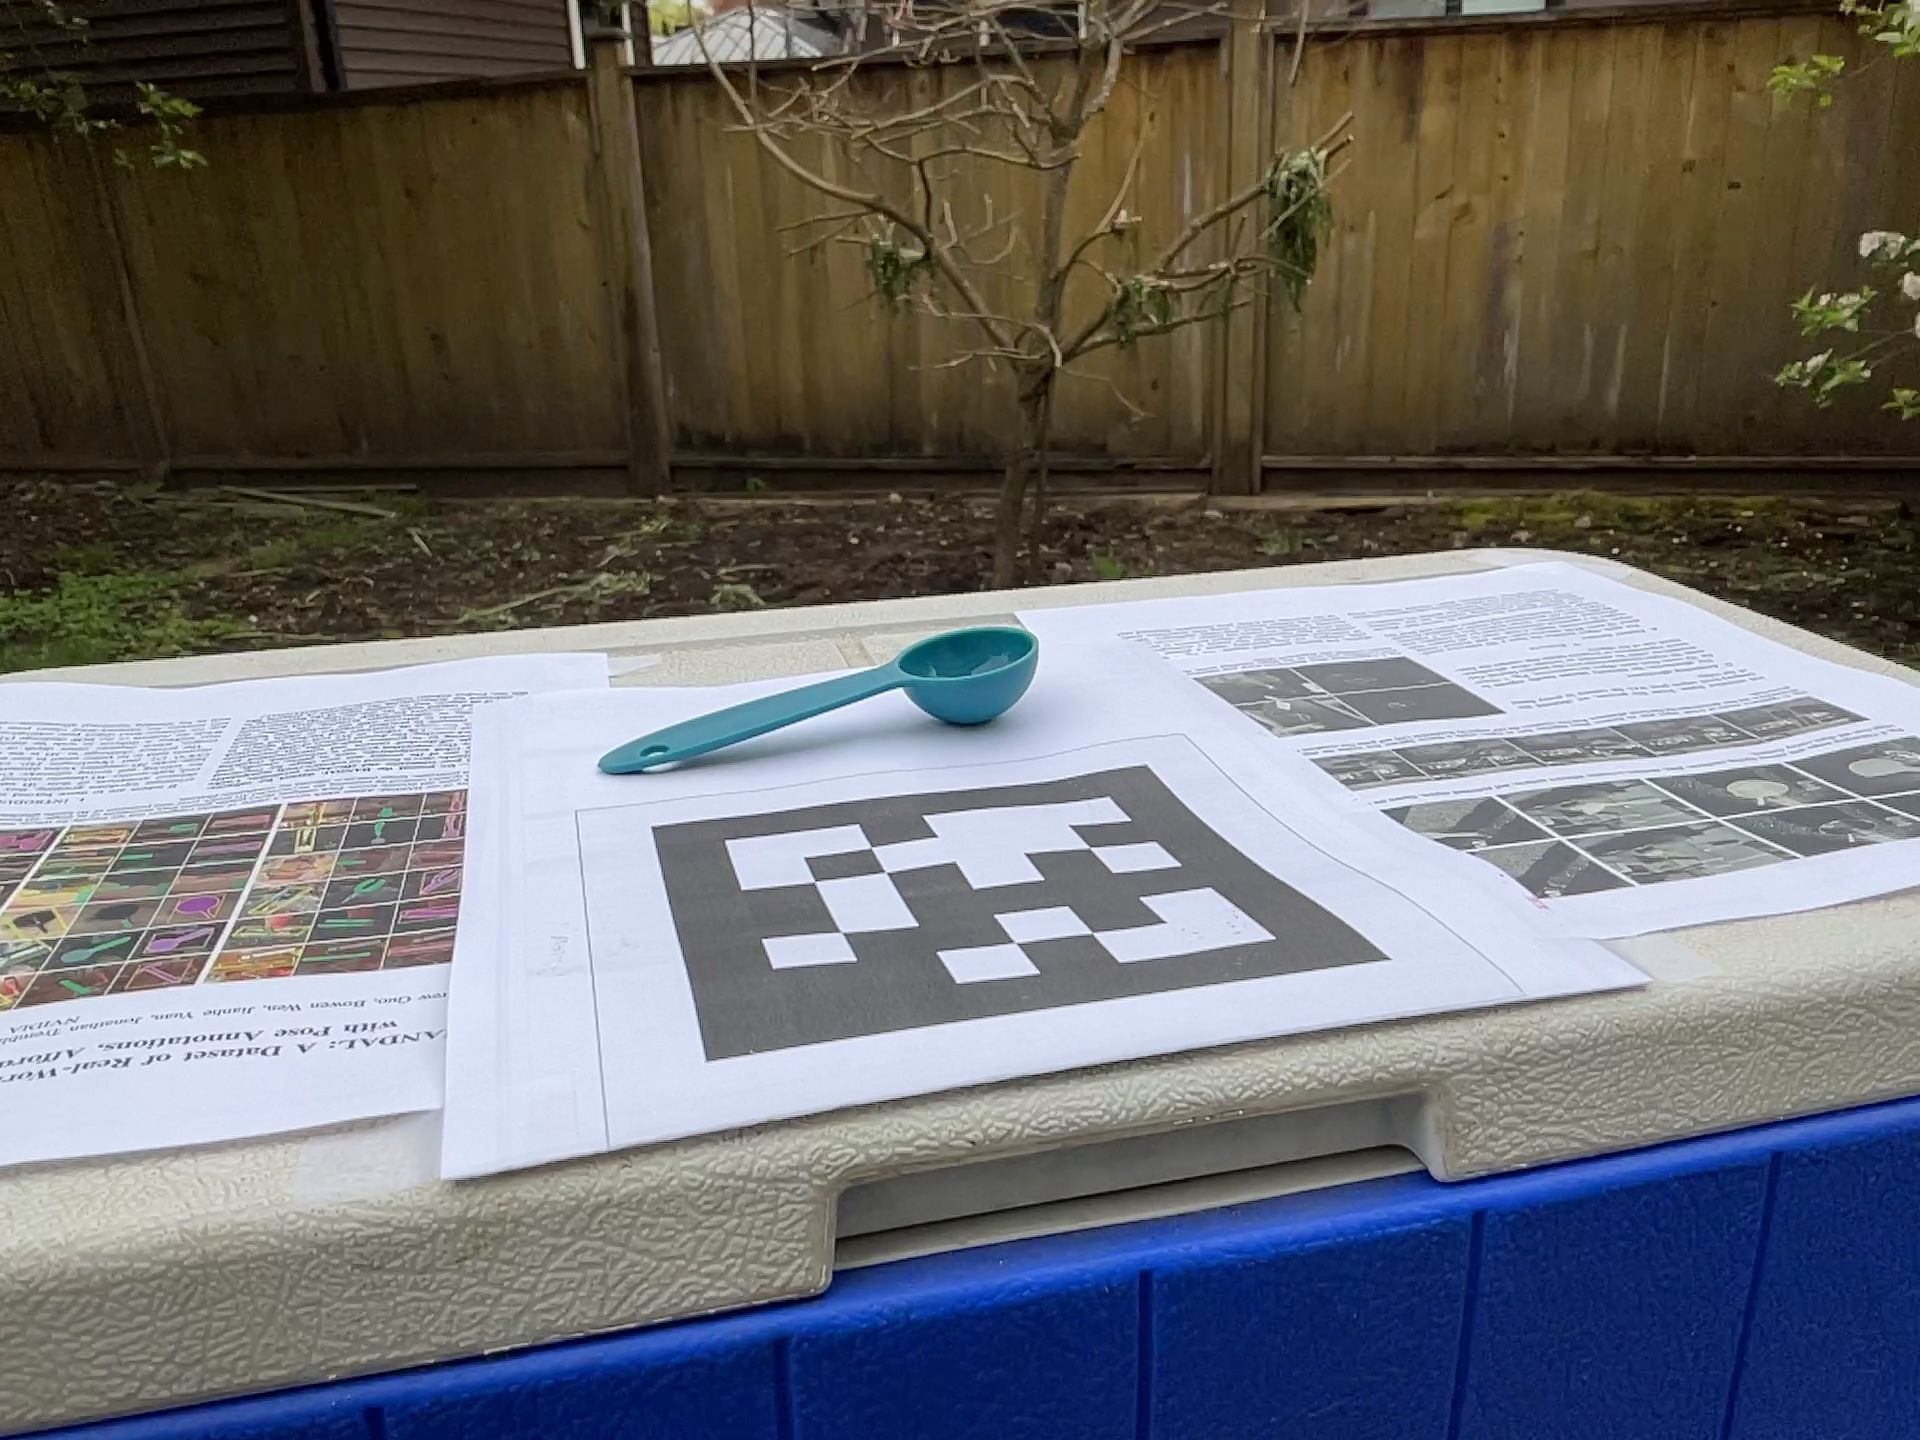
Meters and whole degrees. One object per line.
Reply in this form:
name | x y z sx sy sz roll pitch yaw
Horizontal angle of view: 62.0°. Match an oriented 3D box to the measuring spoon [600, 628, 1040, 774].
measuring spoon | -0.037 0.002 0.453 0.128 0.021 0.042 -17 22 -14
